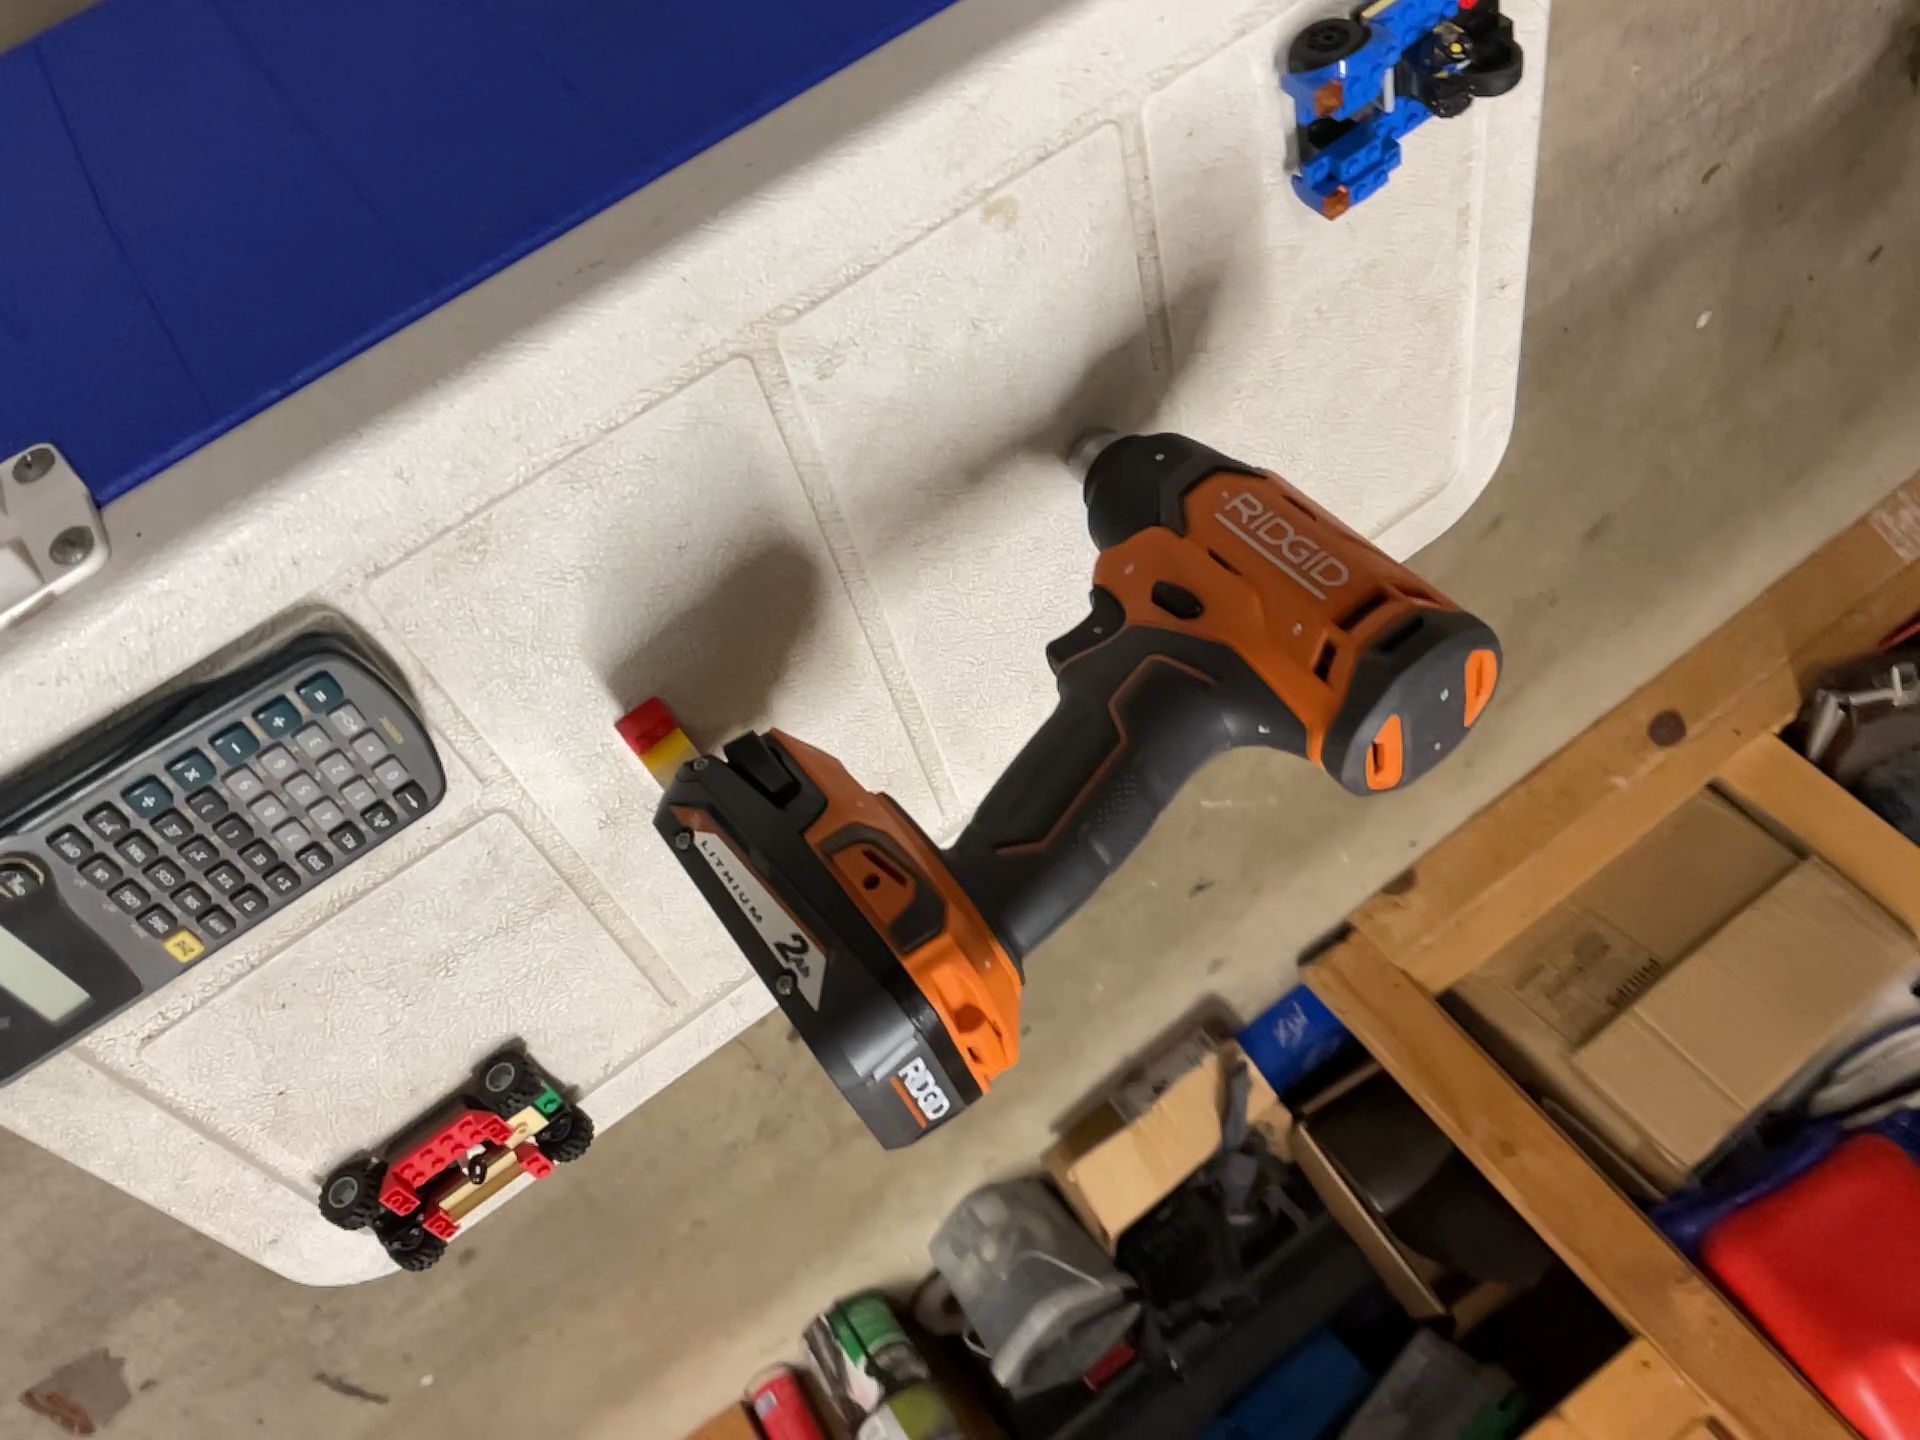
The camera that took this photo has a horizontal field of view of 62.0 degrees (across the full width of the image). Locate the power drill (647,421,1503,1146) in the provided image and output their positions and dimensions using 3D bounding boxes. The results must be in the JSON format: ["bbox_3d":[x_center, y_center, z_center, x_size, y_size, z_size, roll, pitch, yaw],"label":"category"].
[{"bbox_3d":[0.025,0.000,0.487,0.226,0.164,0.084,-36,144,-10],"label":"power drill"}]
